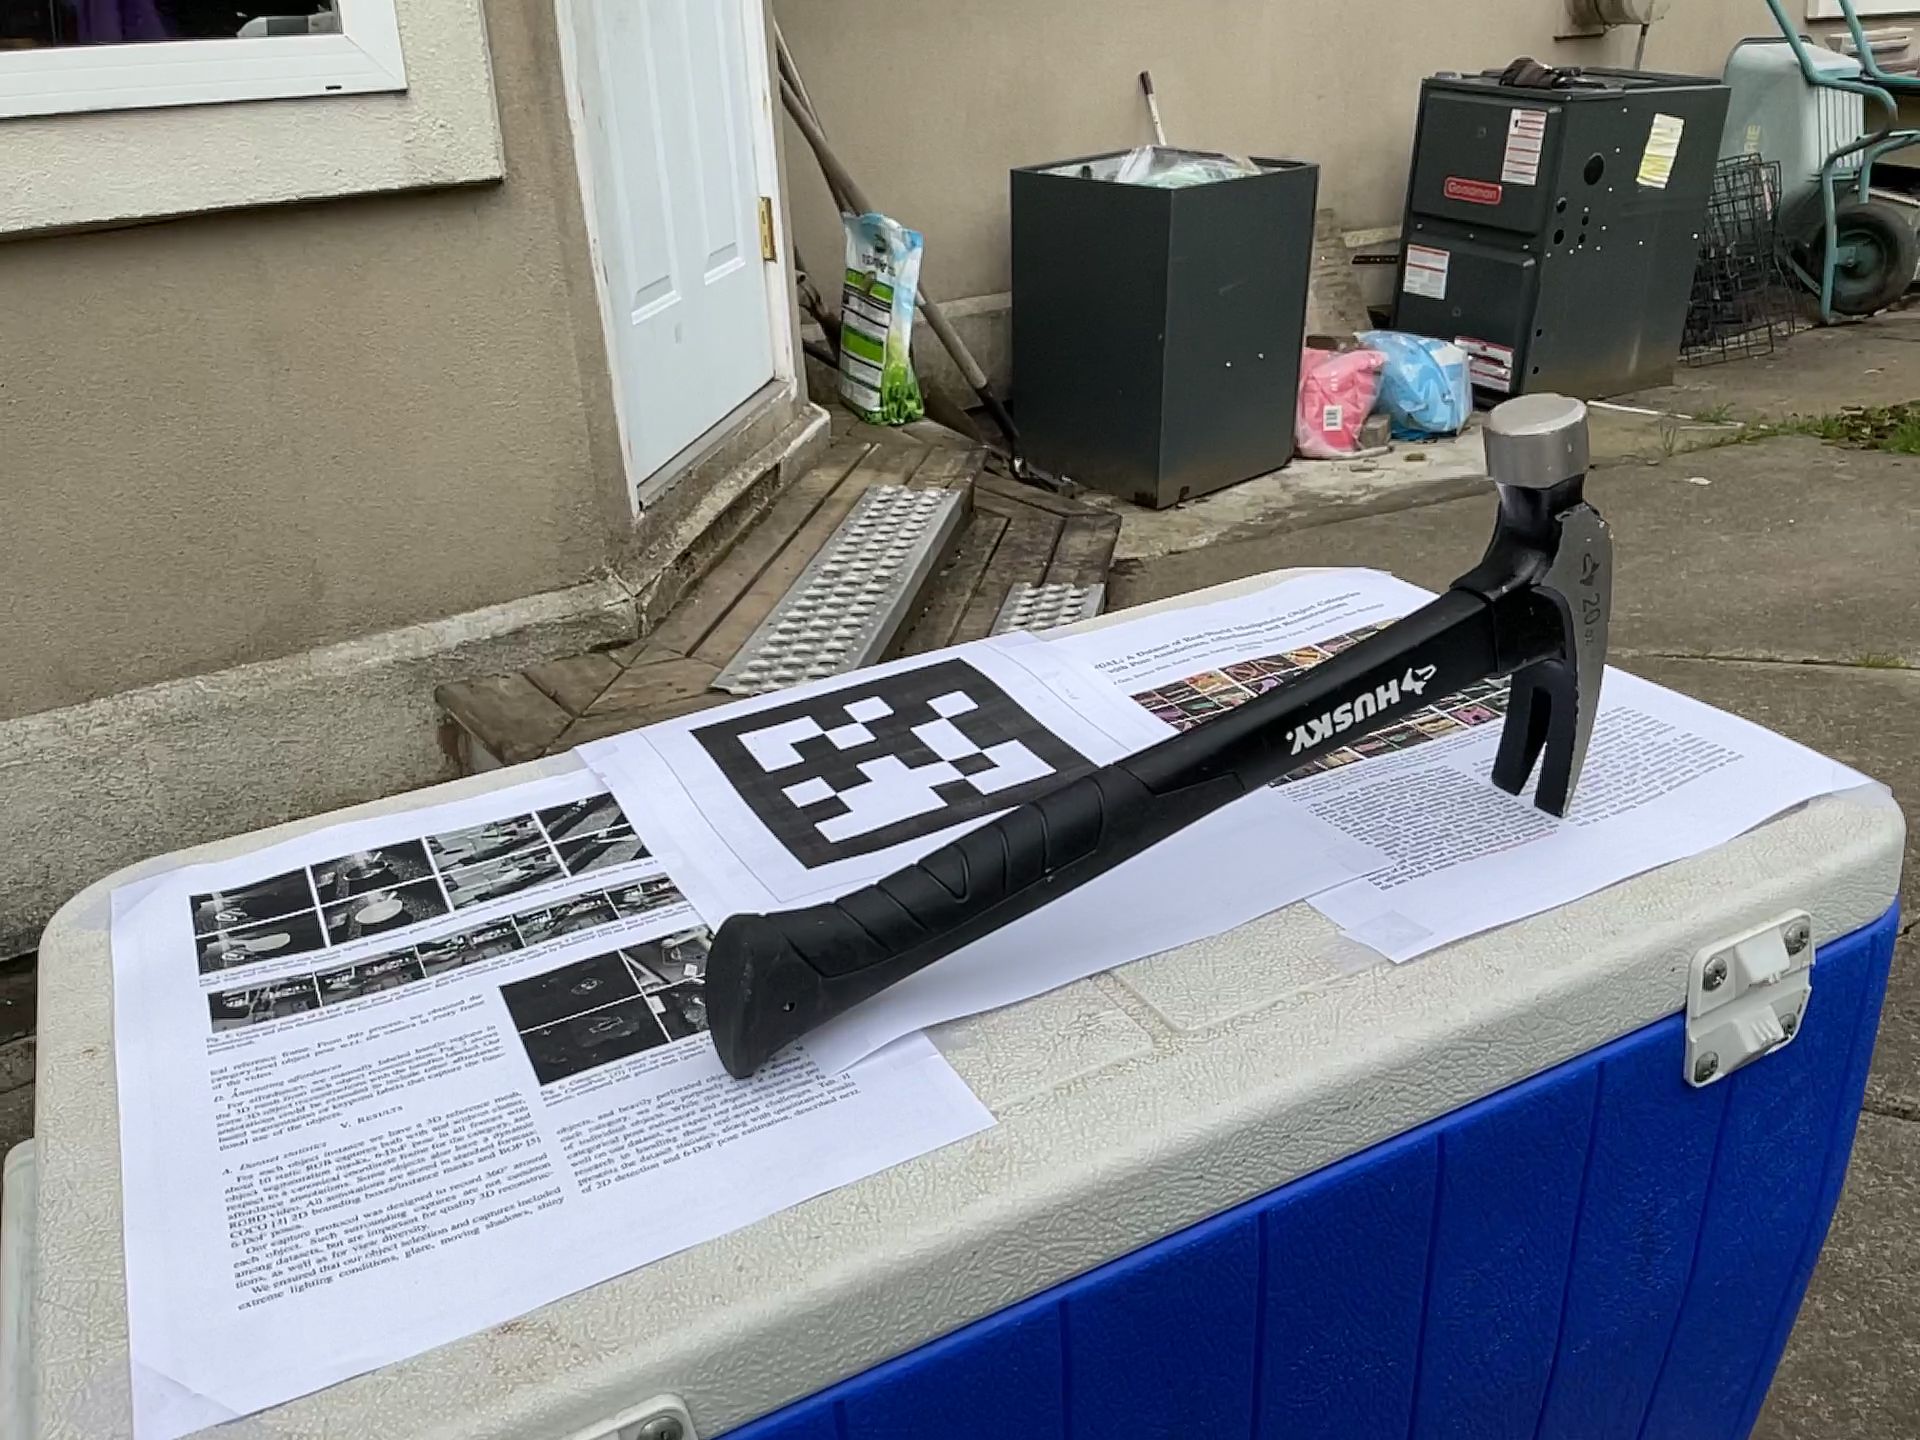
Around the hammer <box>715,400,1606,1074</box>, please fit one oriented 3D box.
[{"bbox_3d":[0.075,0.024,0.516,0.334,0.146,0.035,-26,30,-17],"label":"hammer"}]
